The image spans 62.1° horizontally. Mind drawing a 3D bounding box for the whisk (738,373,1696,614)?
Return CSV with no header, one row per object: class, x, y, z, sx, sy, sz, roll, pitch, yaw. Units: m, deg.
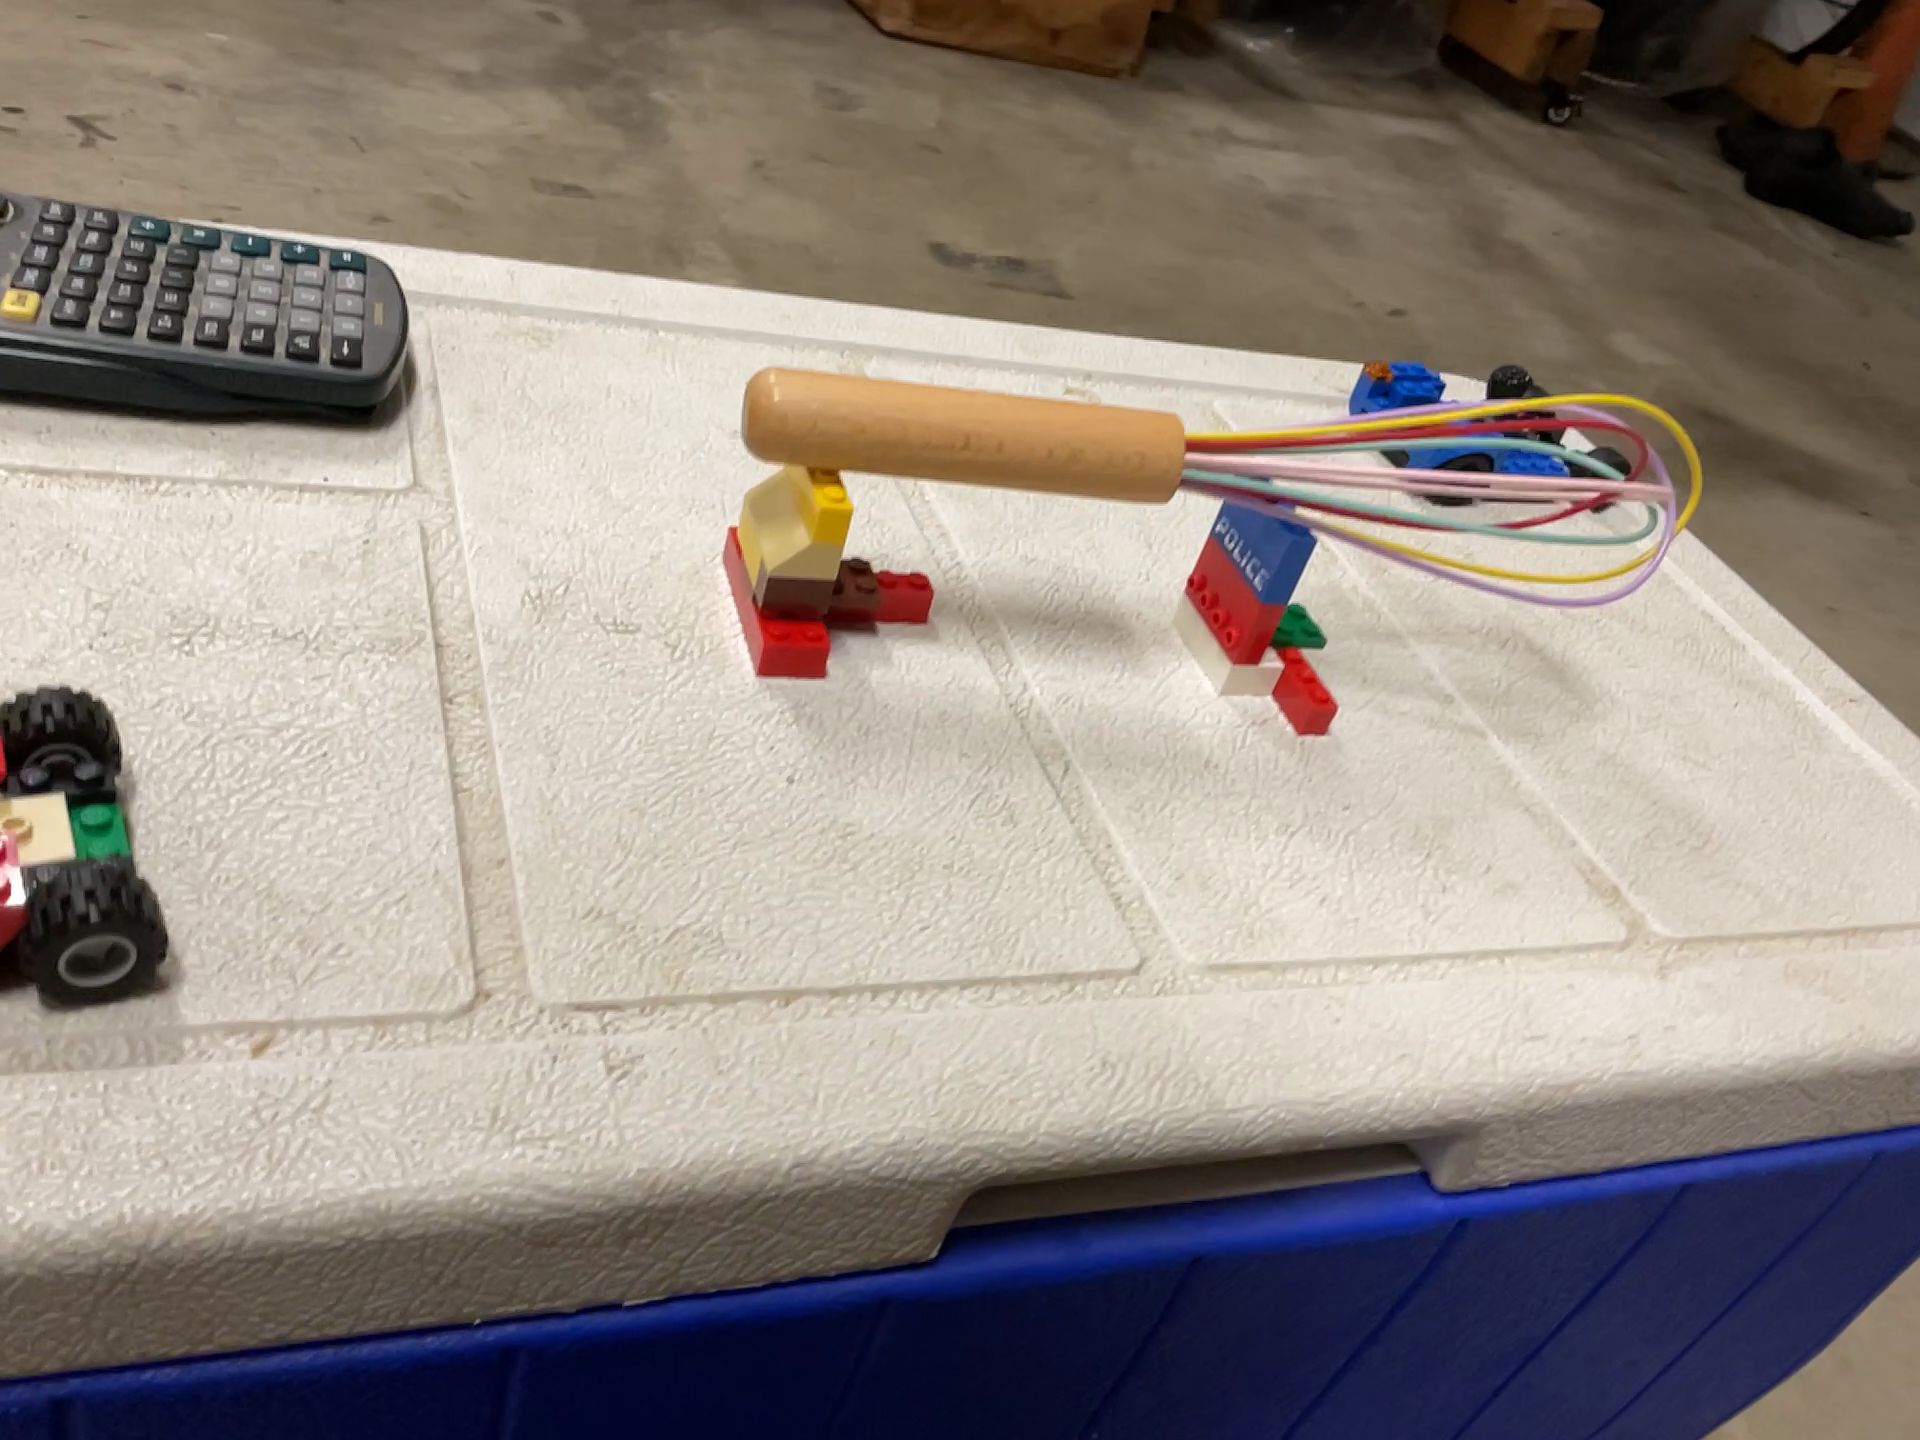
whisk,0.070,-0.064,0.381,0.245,0.047,0.051,3,51,-16
